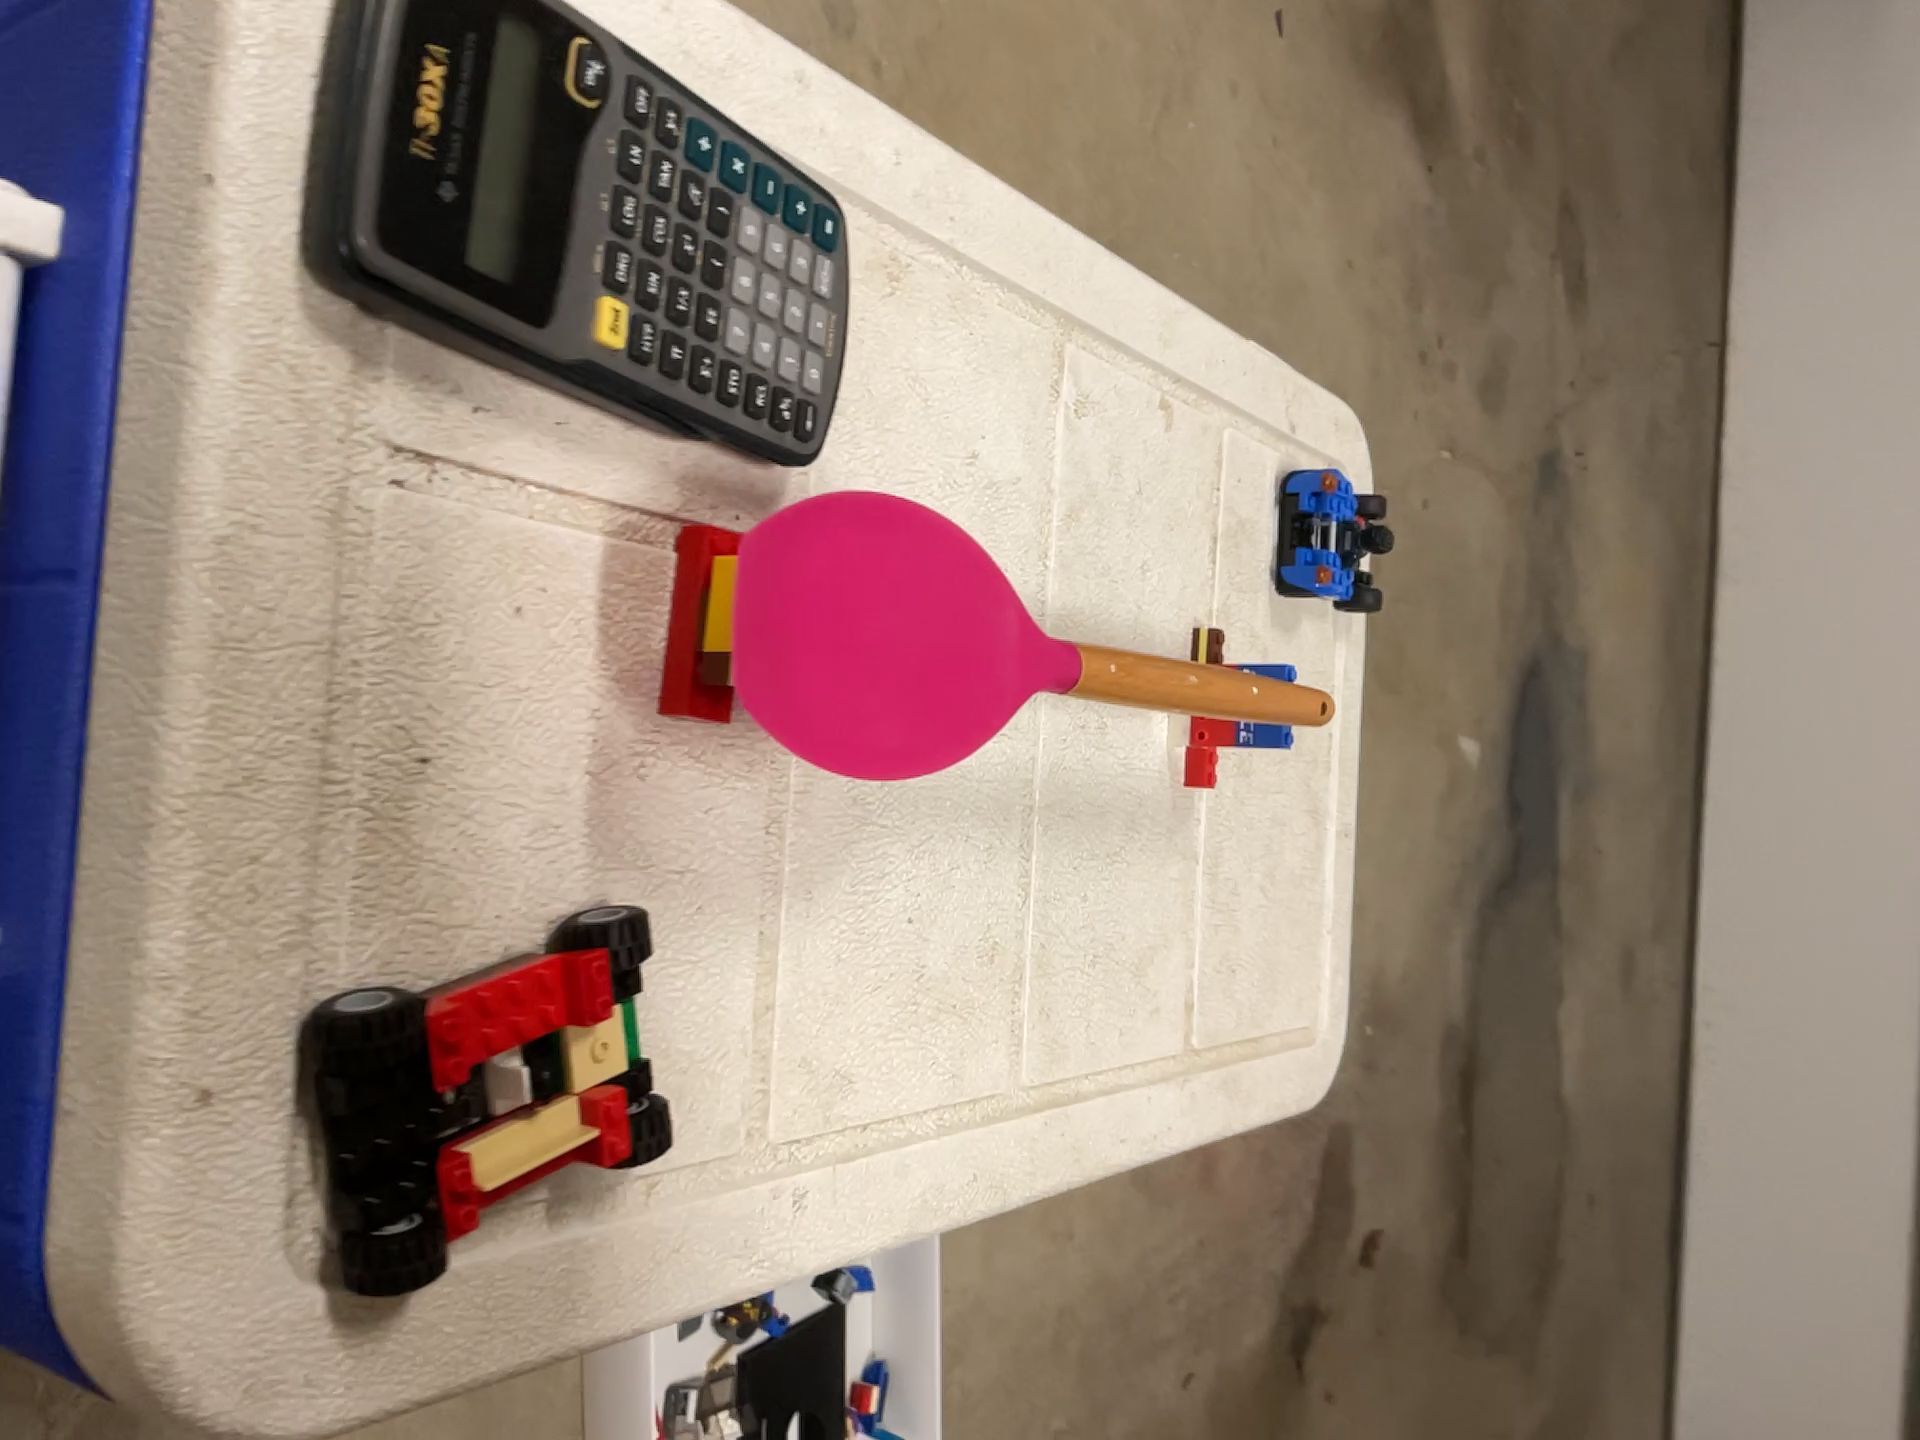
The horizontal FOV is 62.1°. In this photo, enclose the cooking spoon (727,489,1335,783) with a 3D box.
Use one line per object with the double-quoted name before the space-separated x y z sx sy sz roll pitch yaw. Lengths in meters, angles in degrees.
"cooking spoon" 0.042 -0.013 0.470 0.319 0.017 0.069 6 86 -54
